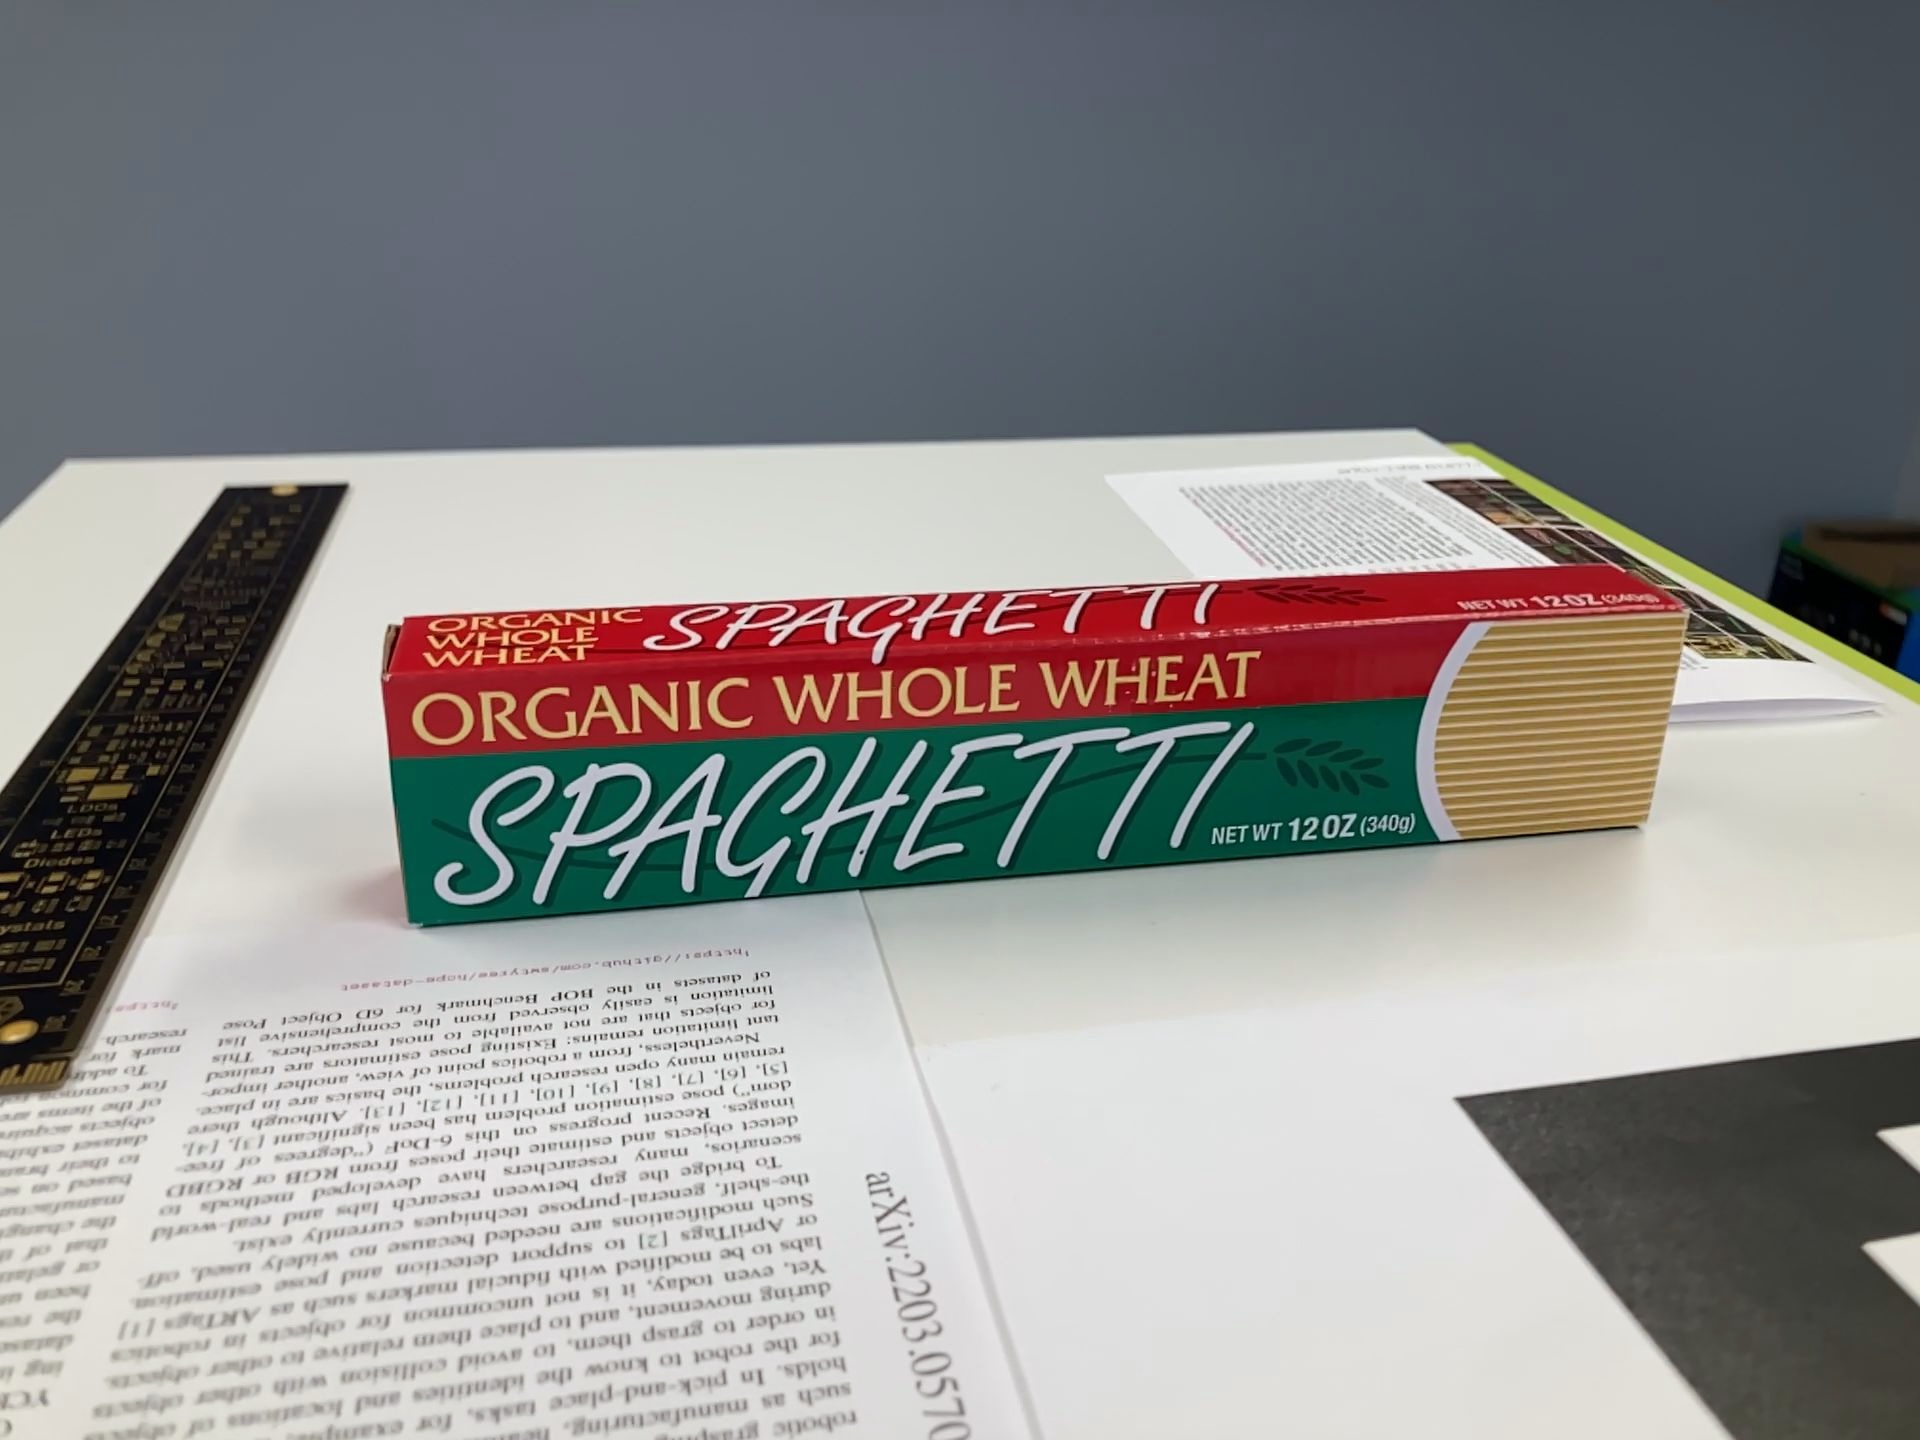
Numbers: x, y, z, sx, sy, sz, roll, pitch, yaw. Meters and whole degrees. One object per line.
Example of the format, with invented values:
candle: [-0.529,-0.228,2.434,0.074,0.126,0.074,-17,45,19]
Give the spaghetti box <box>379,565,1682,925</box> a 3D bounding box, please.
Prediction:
spaghetti box: [0.020,0.002,0.310,0.250,0.050,0.028,-4,23,-12]
